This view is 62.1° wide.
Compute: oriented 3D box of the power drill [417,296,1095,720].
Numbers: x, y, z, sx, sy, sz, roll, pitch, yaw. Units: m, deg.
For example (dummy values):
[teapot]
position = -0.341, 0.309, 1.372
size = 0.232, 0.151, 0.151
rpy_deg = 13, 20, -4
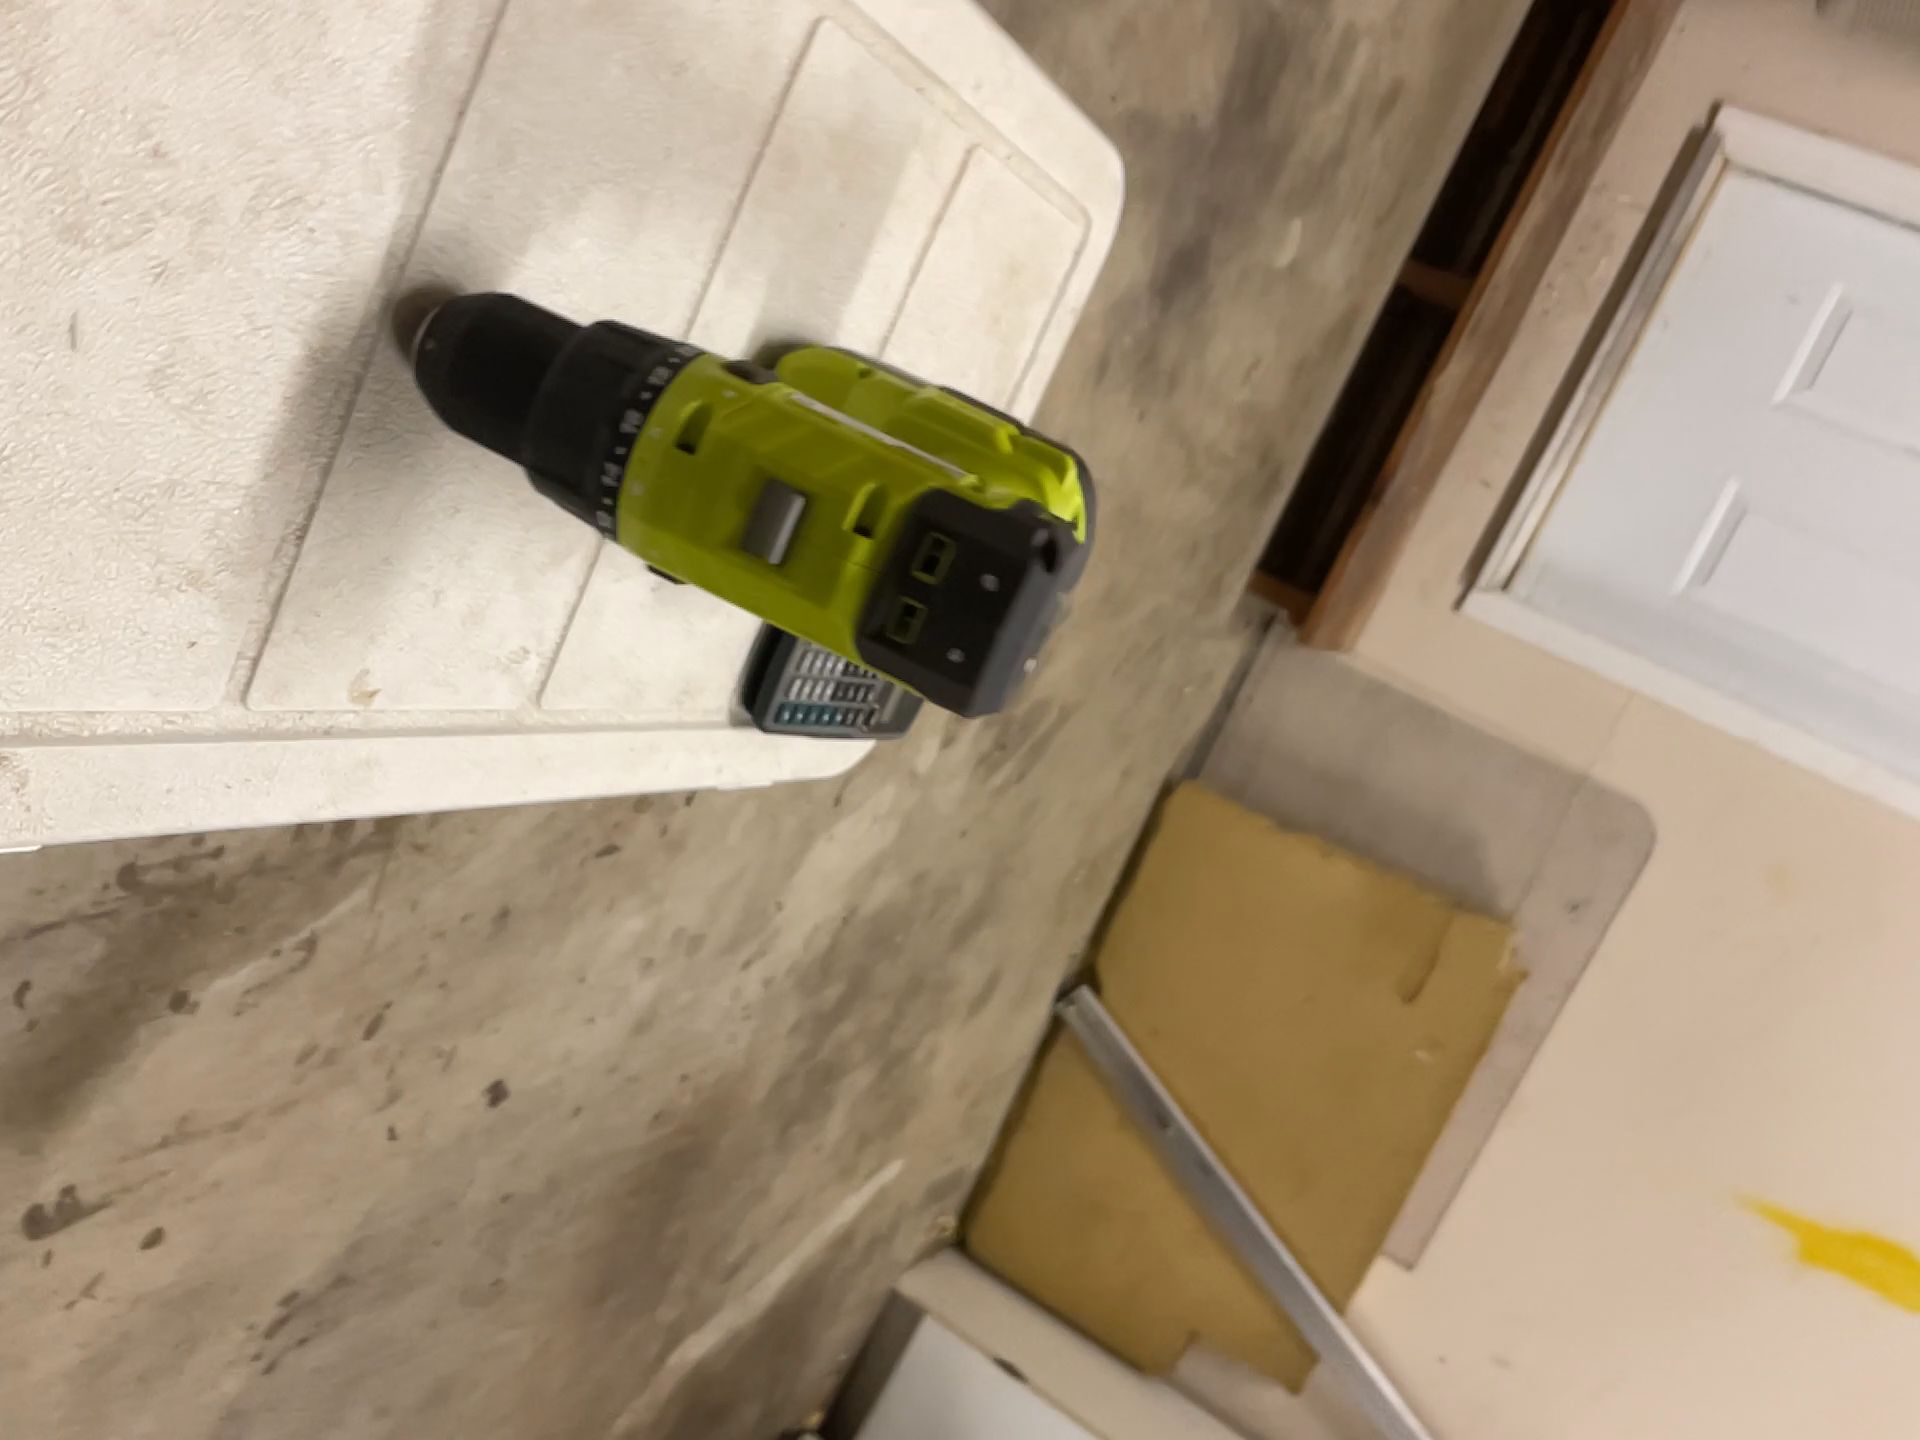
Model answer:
[power drill]
position = -0.047, -0.078, 0.520
size = 0.080, 0.190, 0.229
rpy_deg = -66, 174, 13
